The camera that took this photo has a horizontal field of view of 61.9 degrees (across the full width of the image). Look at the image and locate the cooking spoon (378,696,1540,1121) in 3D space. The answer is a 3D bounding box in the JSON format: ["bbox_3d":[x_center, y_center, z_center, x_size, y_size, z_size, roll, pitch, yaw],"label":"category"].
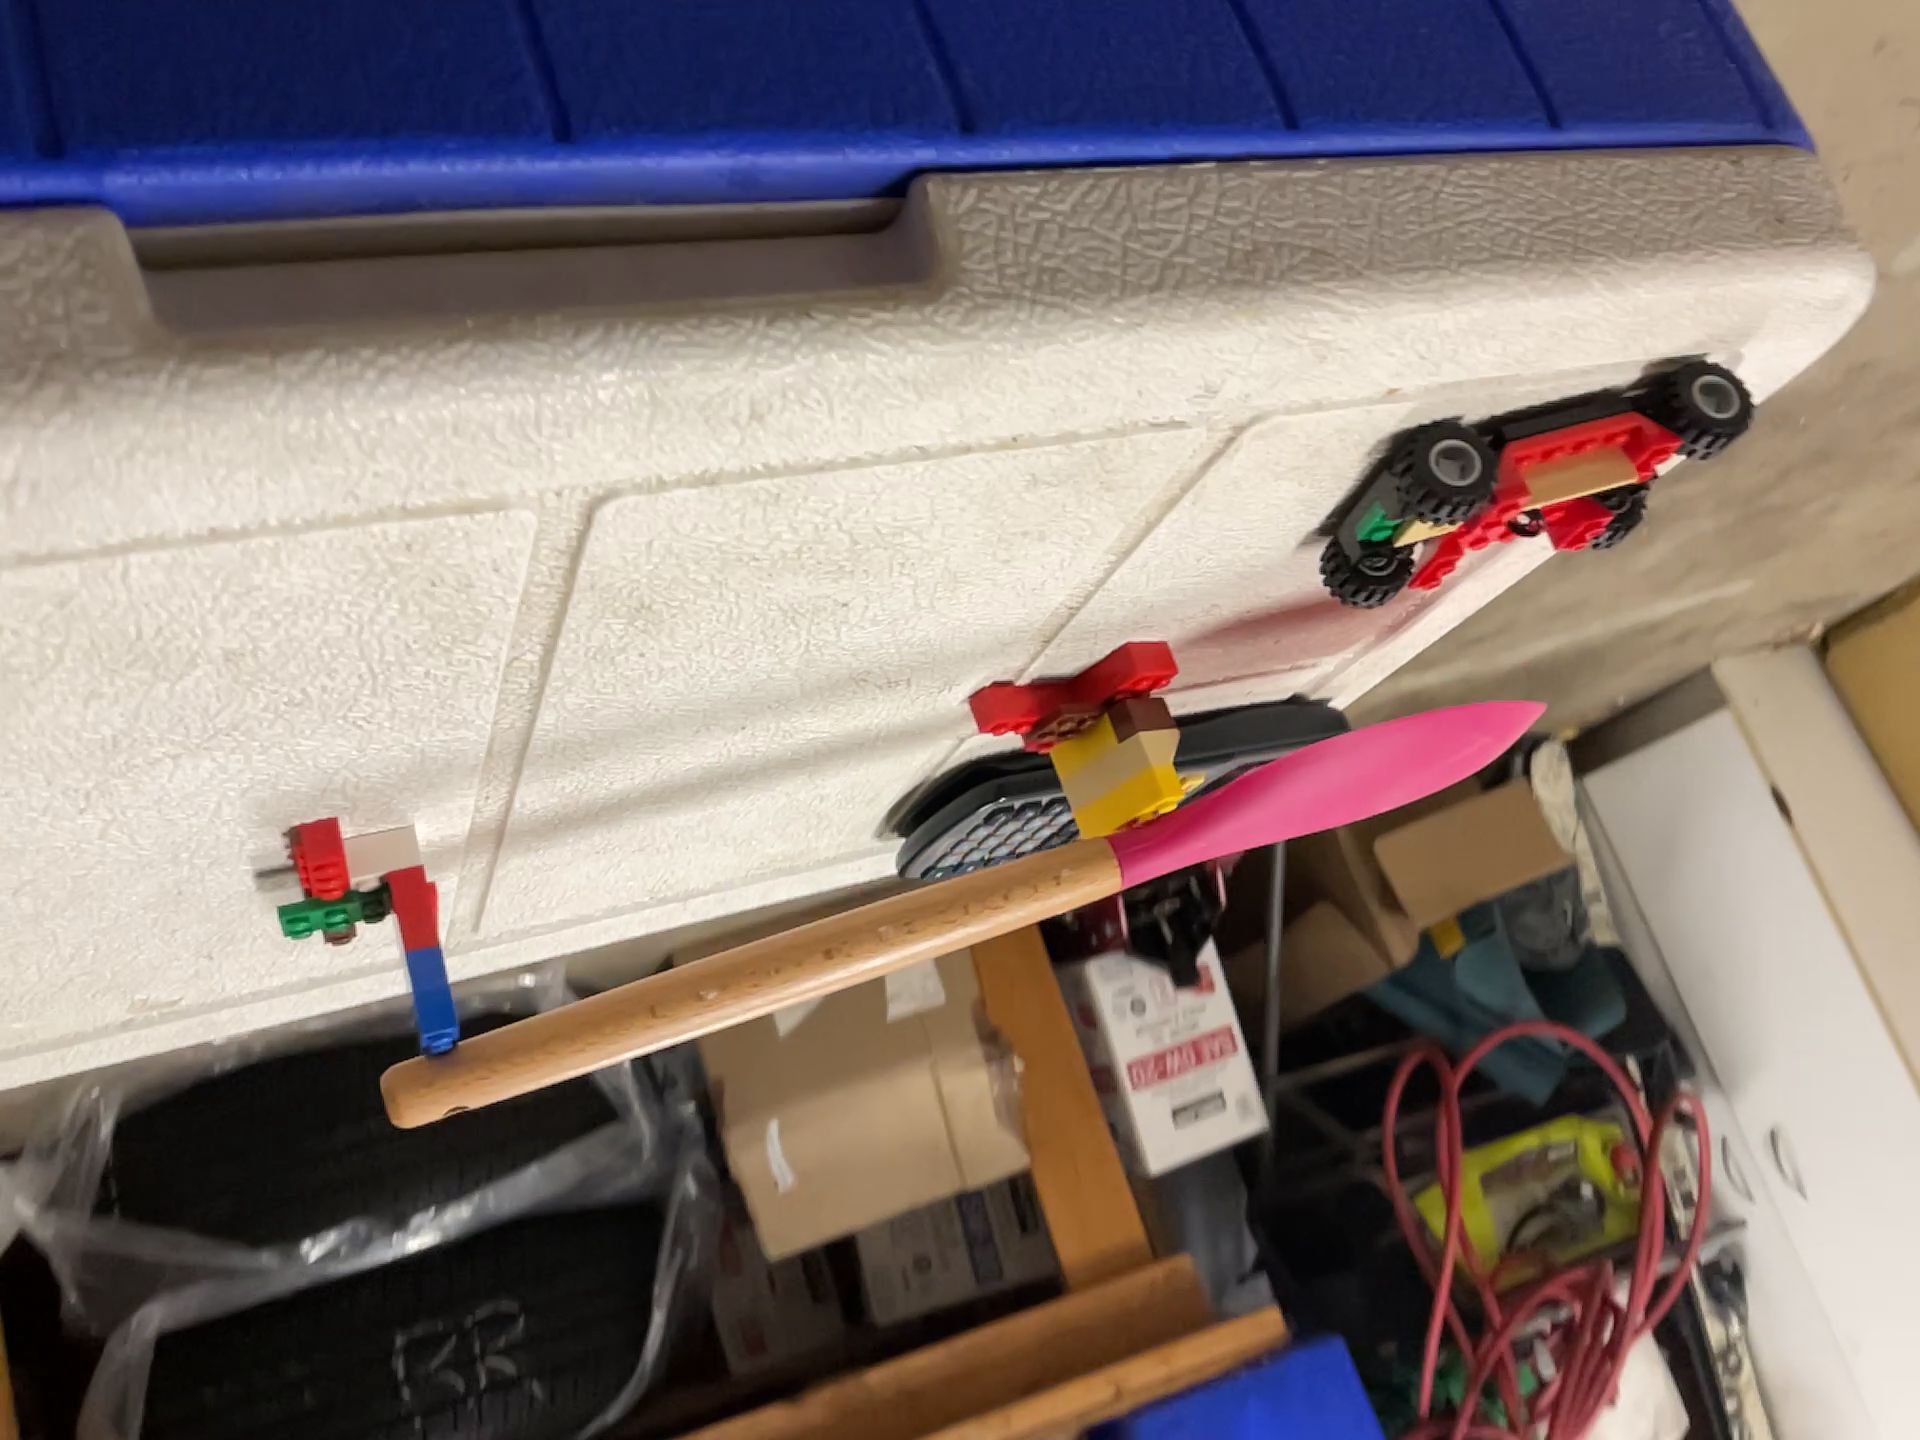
[{"bbox_3d":[0.015,0.044,0.413,0.319,0.017,0.068,-16,159,-17],"label":"cooking spoon"}]
